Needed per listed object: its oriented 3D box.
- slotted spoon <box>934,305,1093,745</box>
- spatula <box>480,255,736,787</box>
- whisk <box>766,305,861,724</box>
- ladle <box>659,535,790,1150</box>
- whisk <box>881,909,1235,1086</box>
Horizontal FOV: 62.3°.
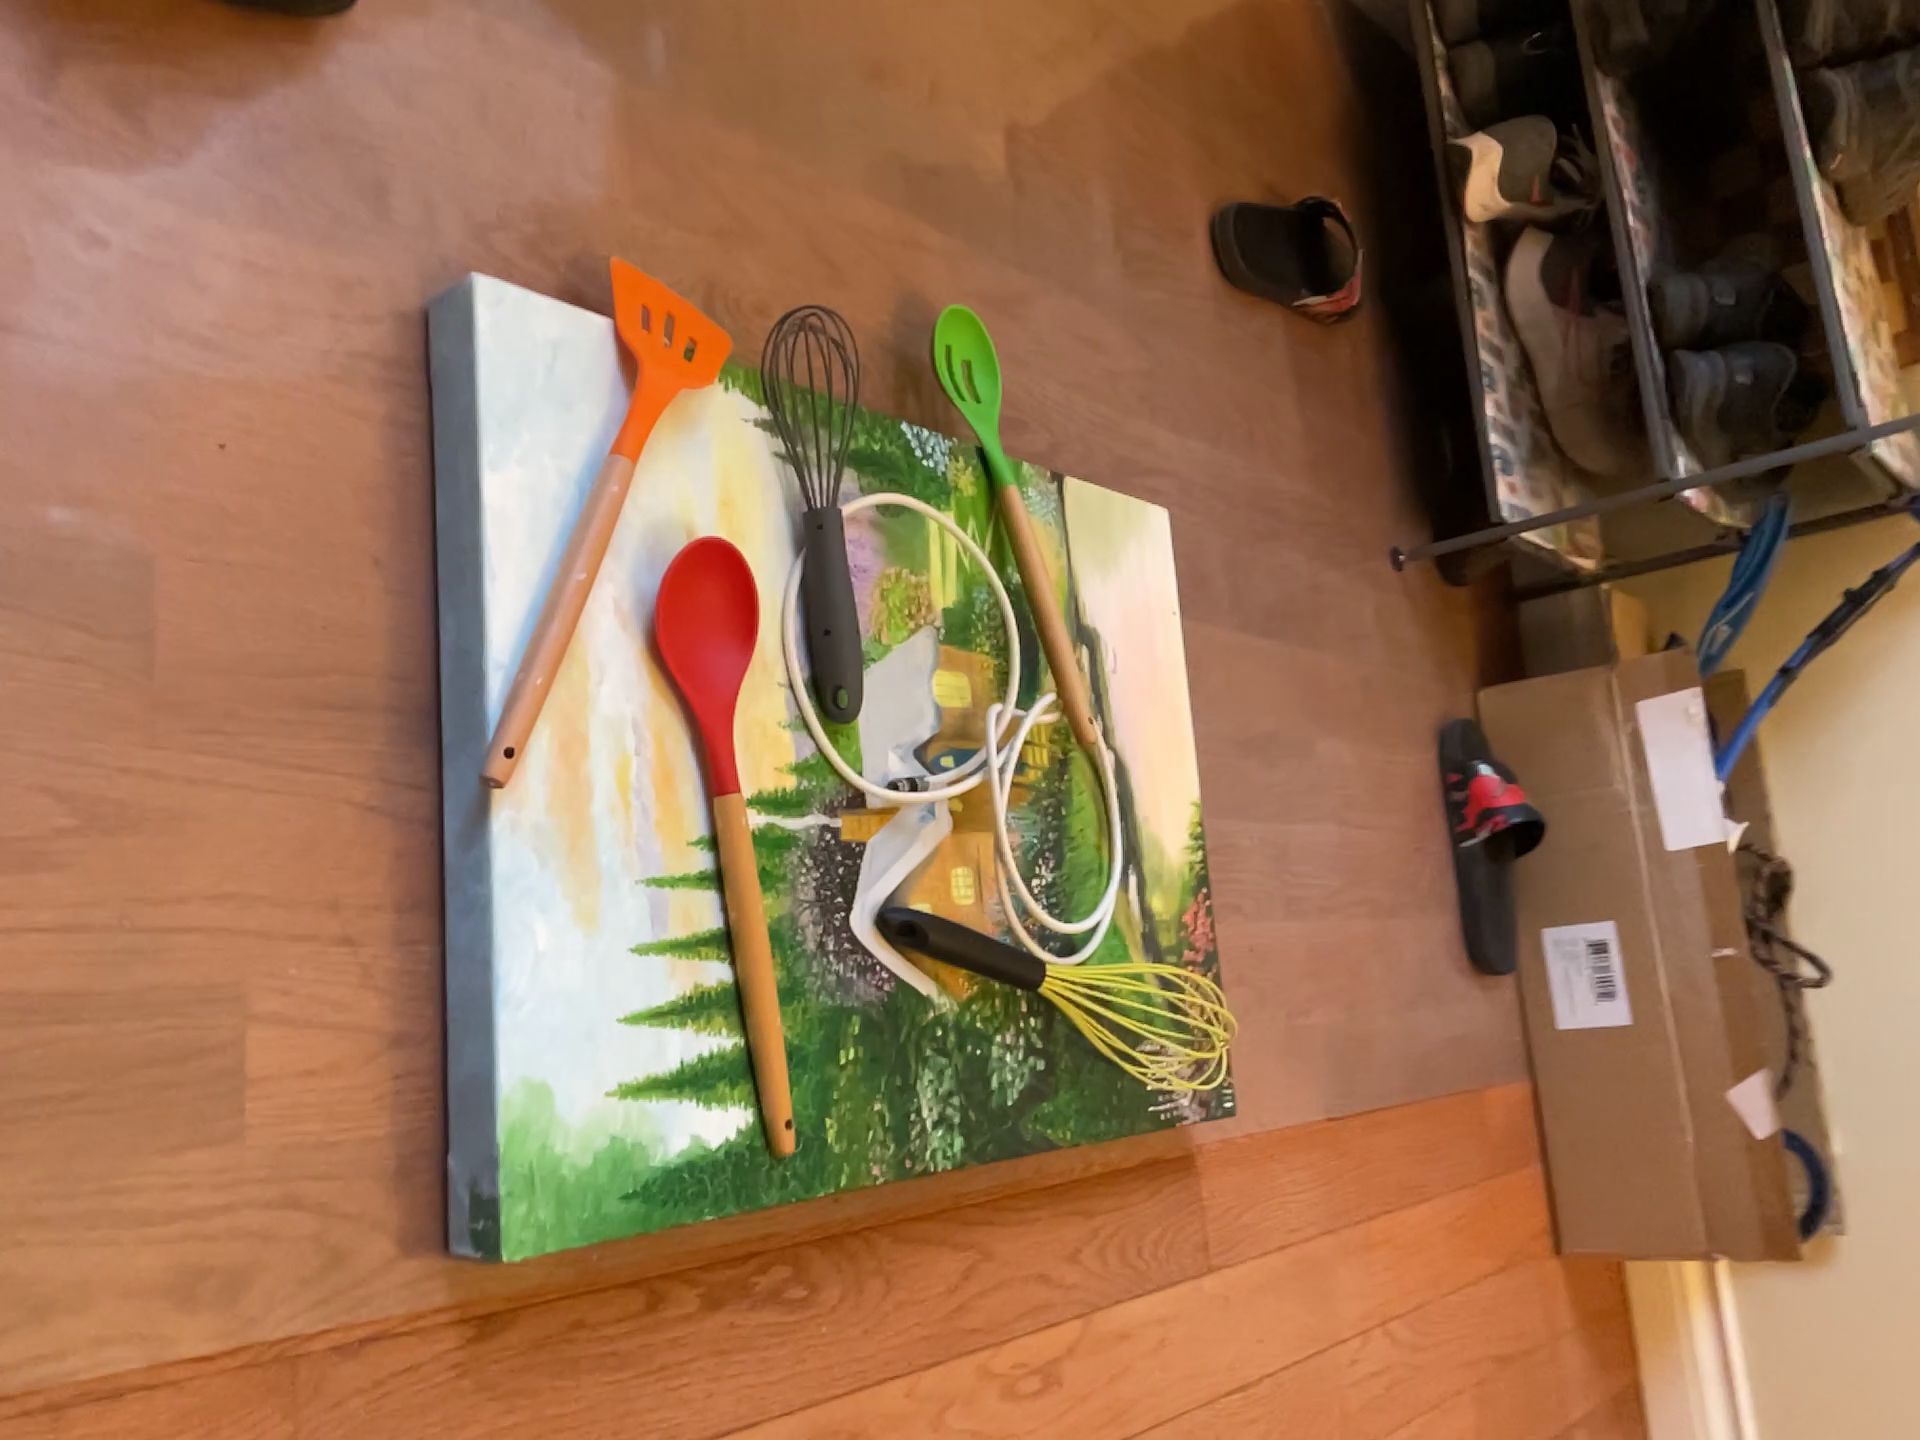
[{"bbox_3d":[0.036,-0.131,1.047,0.070,0.031,0.314,4,65,-51],"label":"slotted spoon"},{"bbox_3d":[-0.181,-0.108,0.801,0.080,0.041,0.323,31,58,-28],"label":"spatula"},{"bbox_3d":[-0.076,-0.117,0.902,0.055,0.055,0.239,-5,90,-41],"label":"whisk"},{"bbox_3d":[-0.114,0.063,0.818,0.069,0.031,0.315,-5,86,-50],"label":"ladle"},{"bbox_3d":[0.066,0.167,0.992,0.311,0.067,0.080,26,54,-37],"label":"whisk"}]
